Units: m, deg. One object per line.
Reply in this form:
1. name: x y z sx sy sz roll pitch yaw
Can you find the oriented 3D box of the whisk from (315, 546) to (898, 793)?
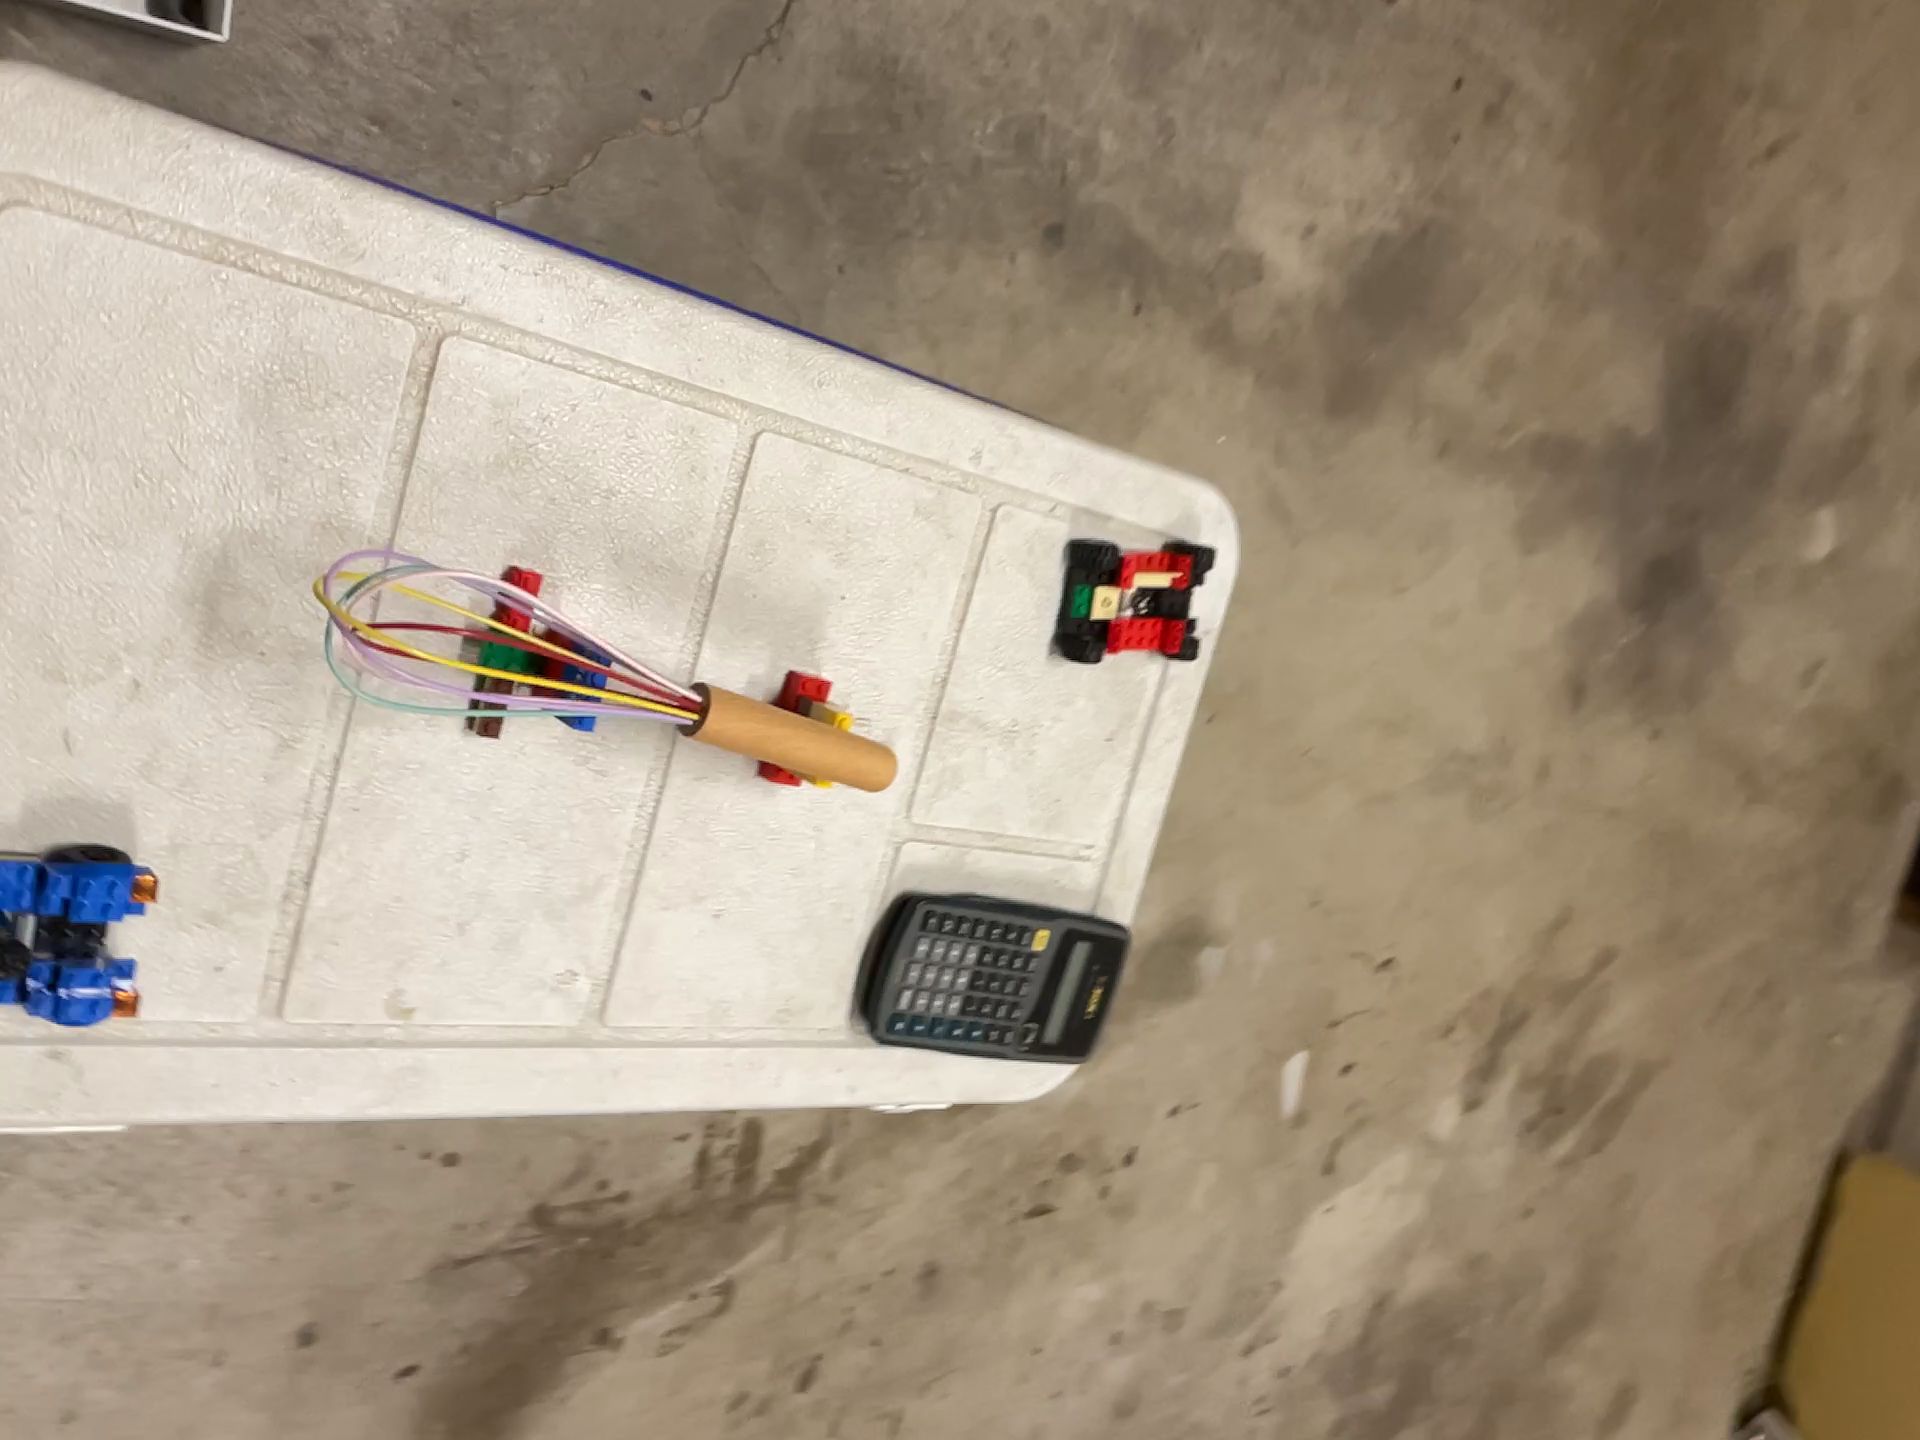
1. whisk: -0.112 -0.007 0.567 0.245 0.047 0.051 20 80 -44
